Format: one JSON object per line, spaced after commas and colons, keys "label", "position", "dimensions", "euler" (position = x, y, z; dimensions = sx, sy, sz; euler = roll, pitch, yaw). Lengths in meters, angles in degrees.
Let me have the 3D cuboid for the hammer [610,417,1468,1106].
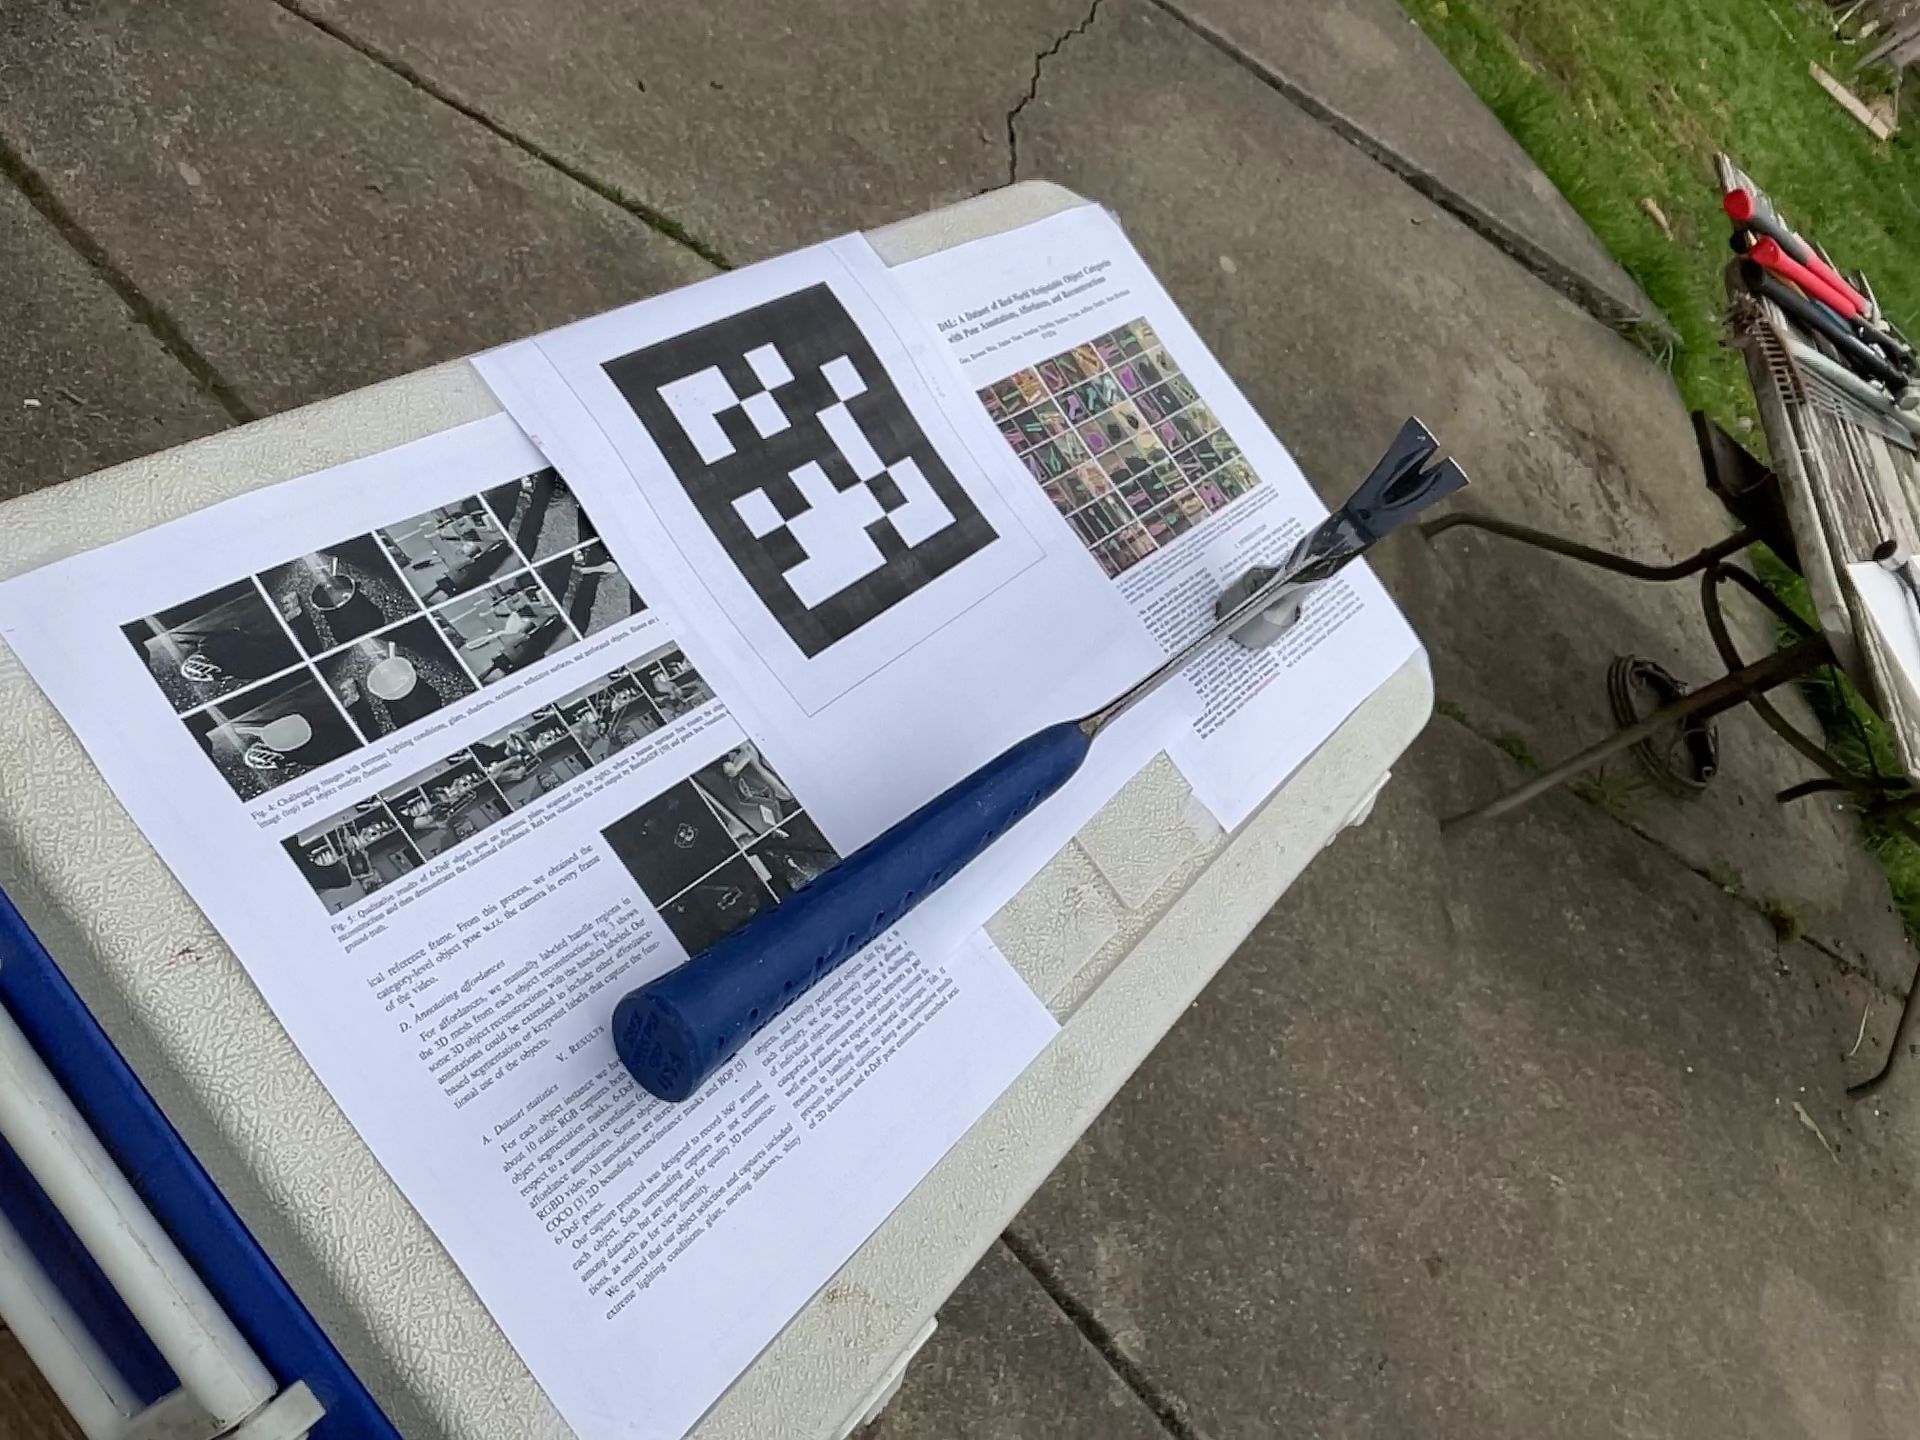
{"label": "hammer", "position": [0.046, 0.002, 0.566], "dimensions": [0.405, 0.144, 0.035], "euler": [-34, 82, -40]}
